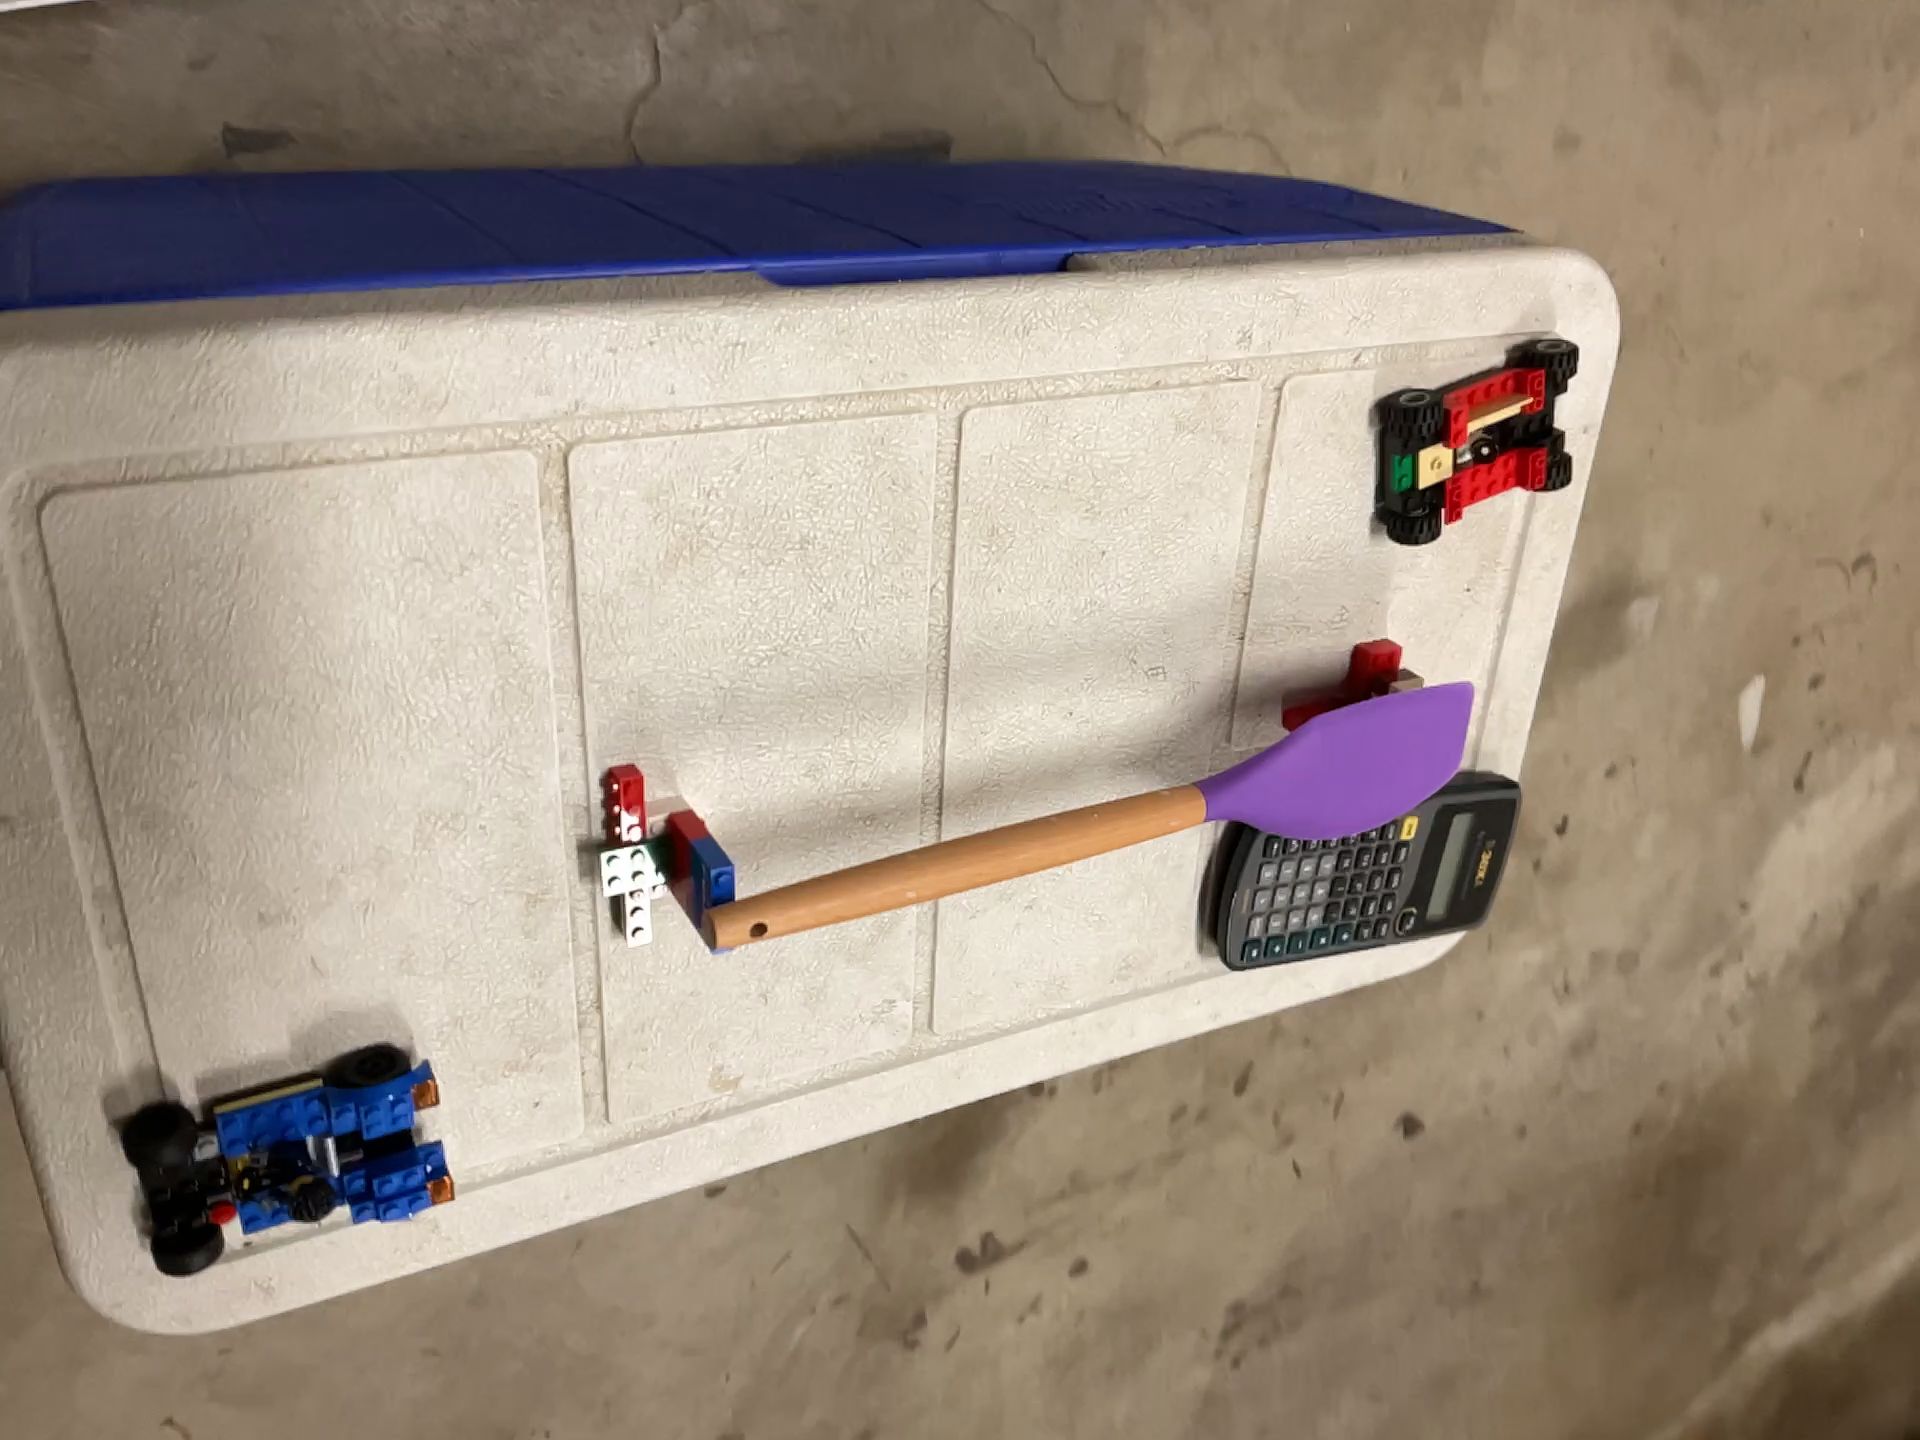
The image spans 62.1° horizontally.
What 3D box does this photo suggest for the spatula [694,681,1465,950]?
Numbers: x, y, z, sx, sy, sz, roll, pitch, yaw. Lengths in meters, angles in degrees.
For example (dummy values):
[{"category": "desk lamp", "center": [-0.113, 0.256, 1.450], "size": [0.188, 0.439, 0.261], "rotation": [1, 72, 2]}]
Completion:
[{"category": "spatula", "center": [0.058, 0.037, 0.561], "size": [0.316, 0.018, 0.059], "rotation": [-12, 119, -27]}]
